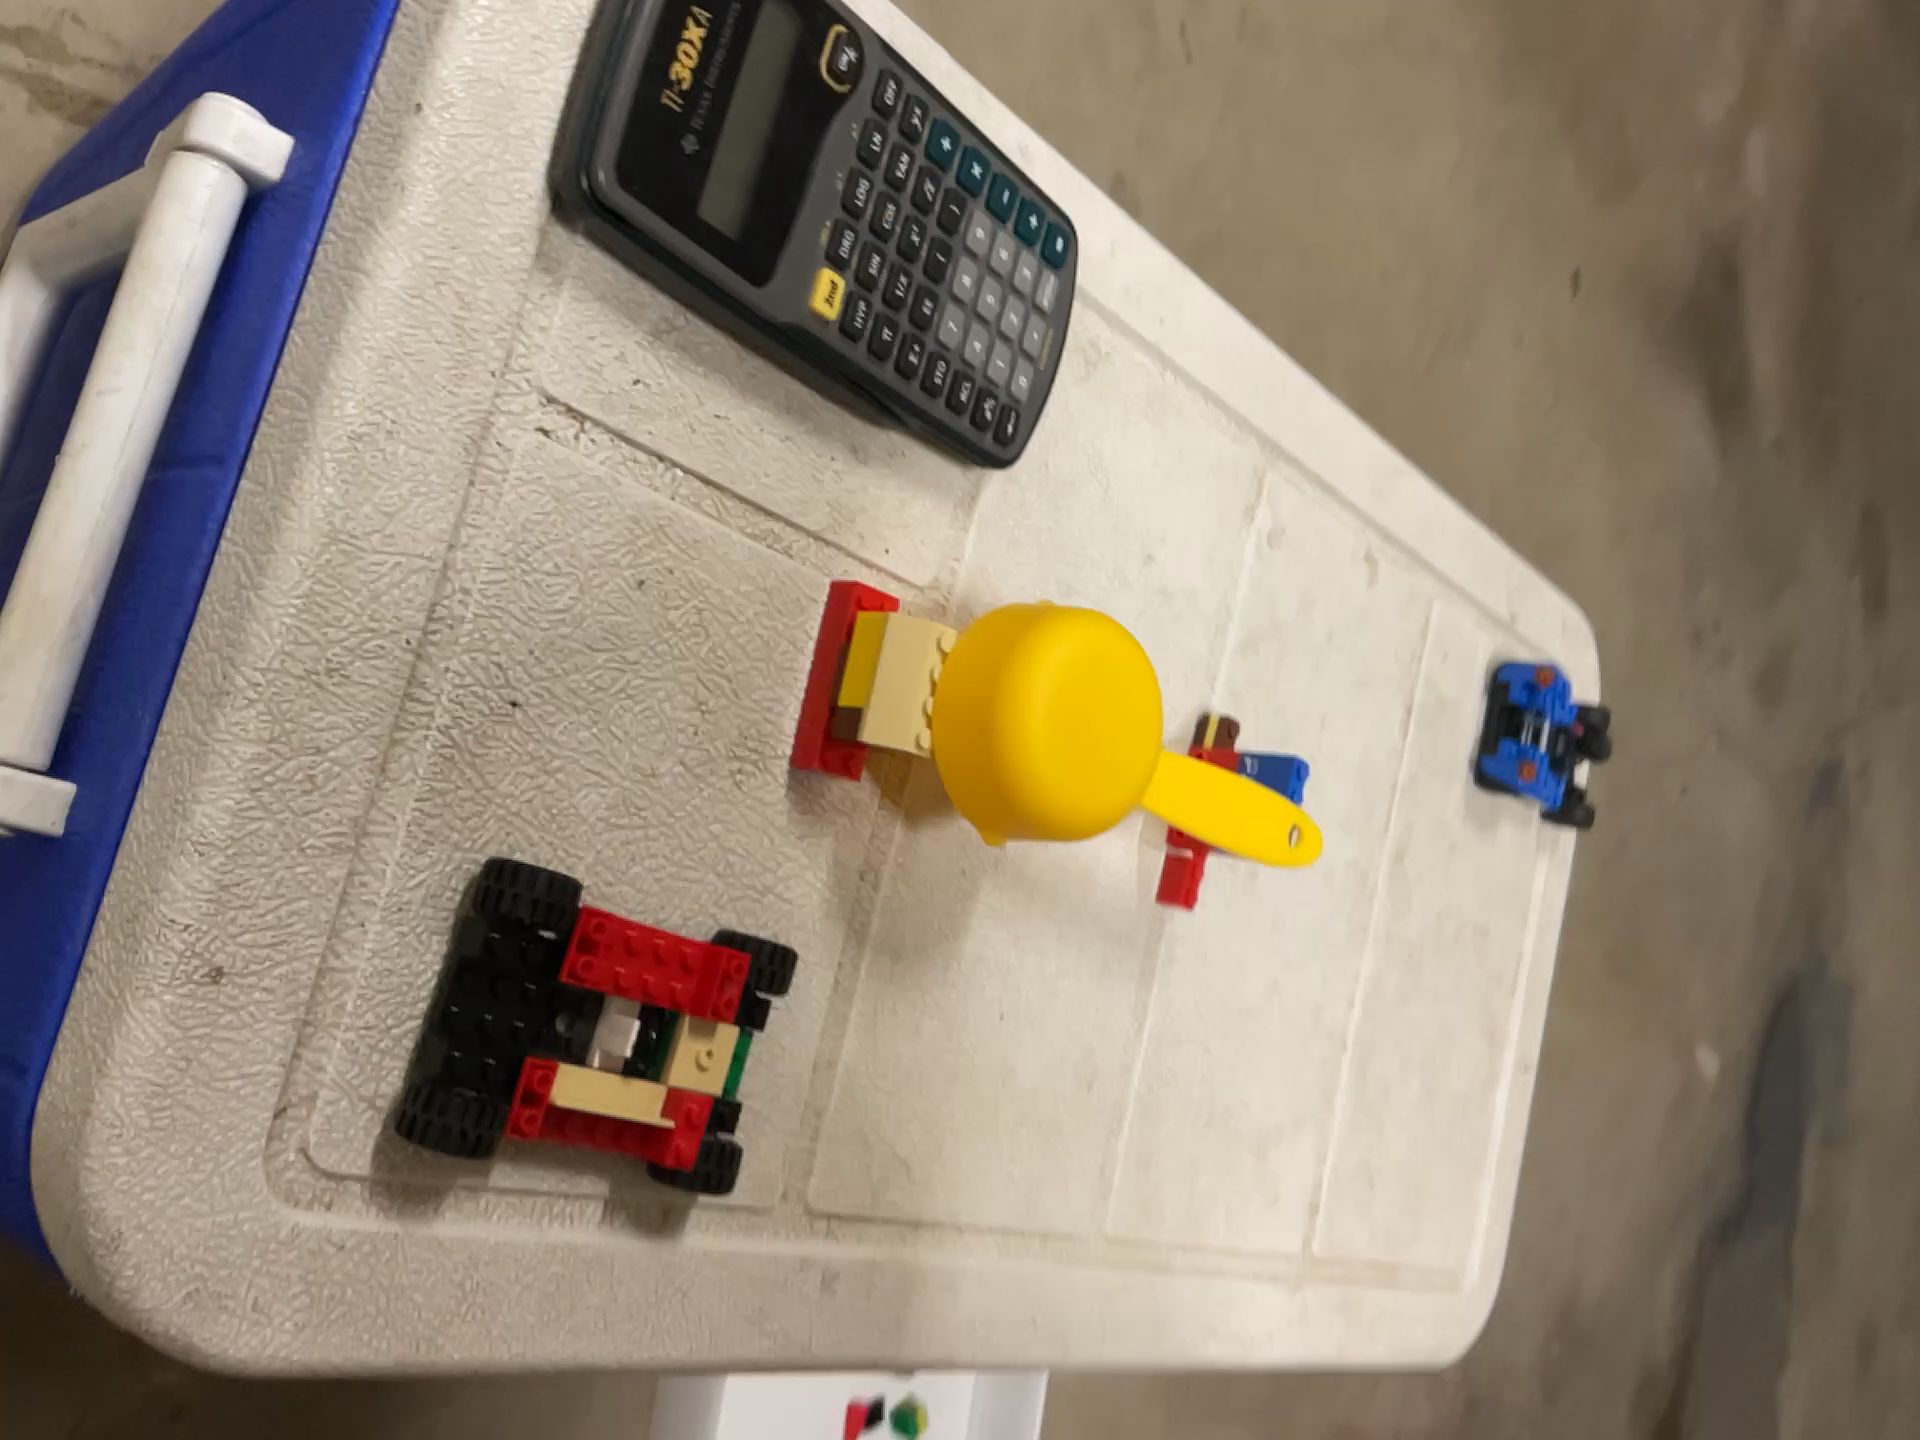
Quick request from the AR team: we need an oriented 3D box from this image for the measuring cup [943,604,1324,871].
[{"bbox_3d":[0.060,0.016,0.425,0.156,0.029,0.062,23,76,-39],"label":"measuring cup"}]
